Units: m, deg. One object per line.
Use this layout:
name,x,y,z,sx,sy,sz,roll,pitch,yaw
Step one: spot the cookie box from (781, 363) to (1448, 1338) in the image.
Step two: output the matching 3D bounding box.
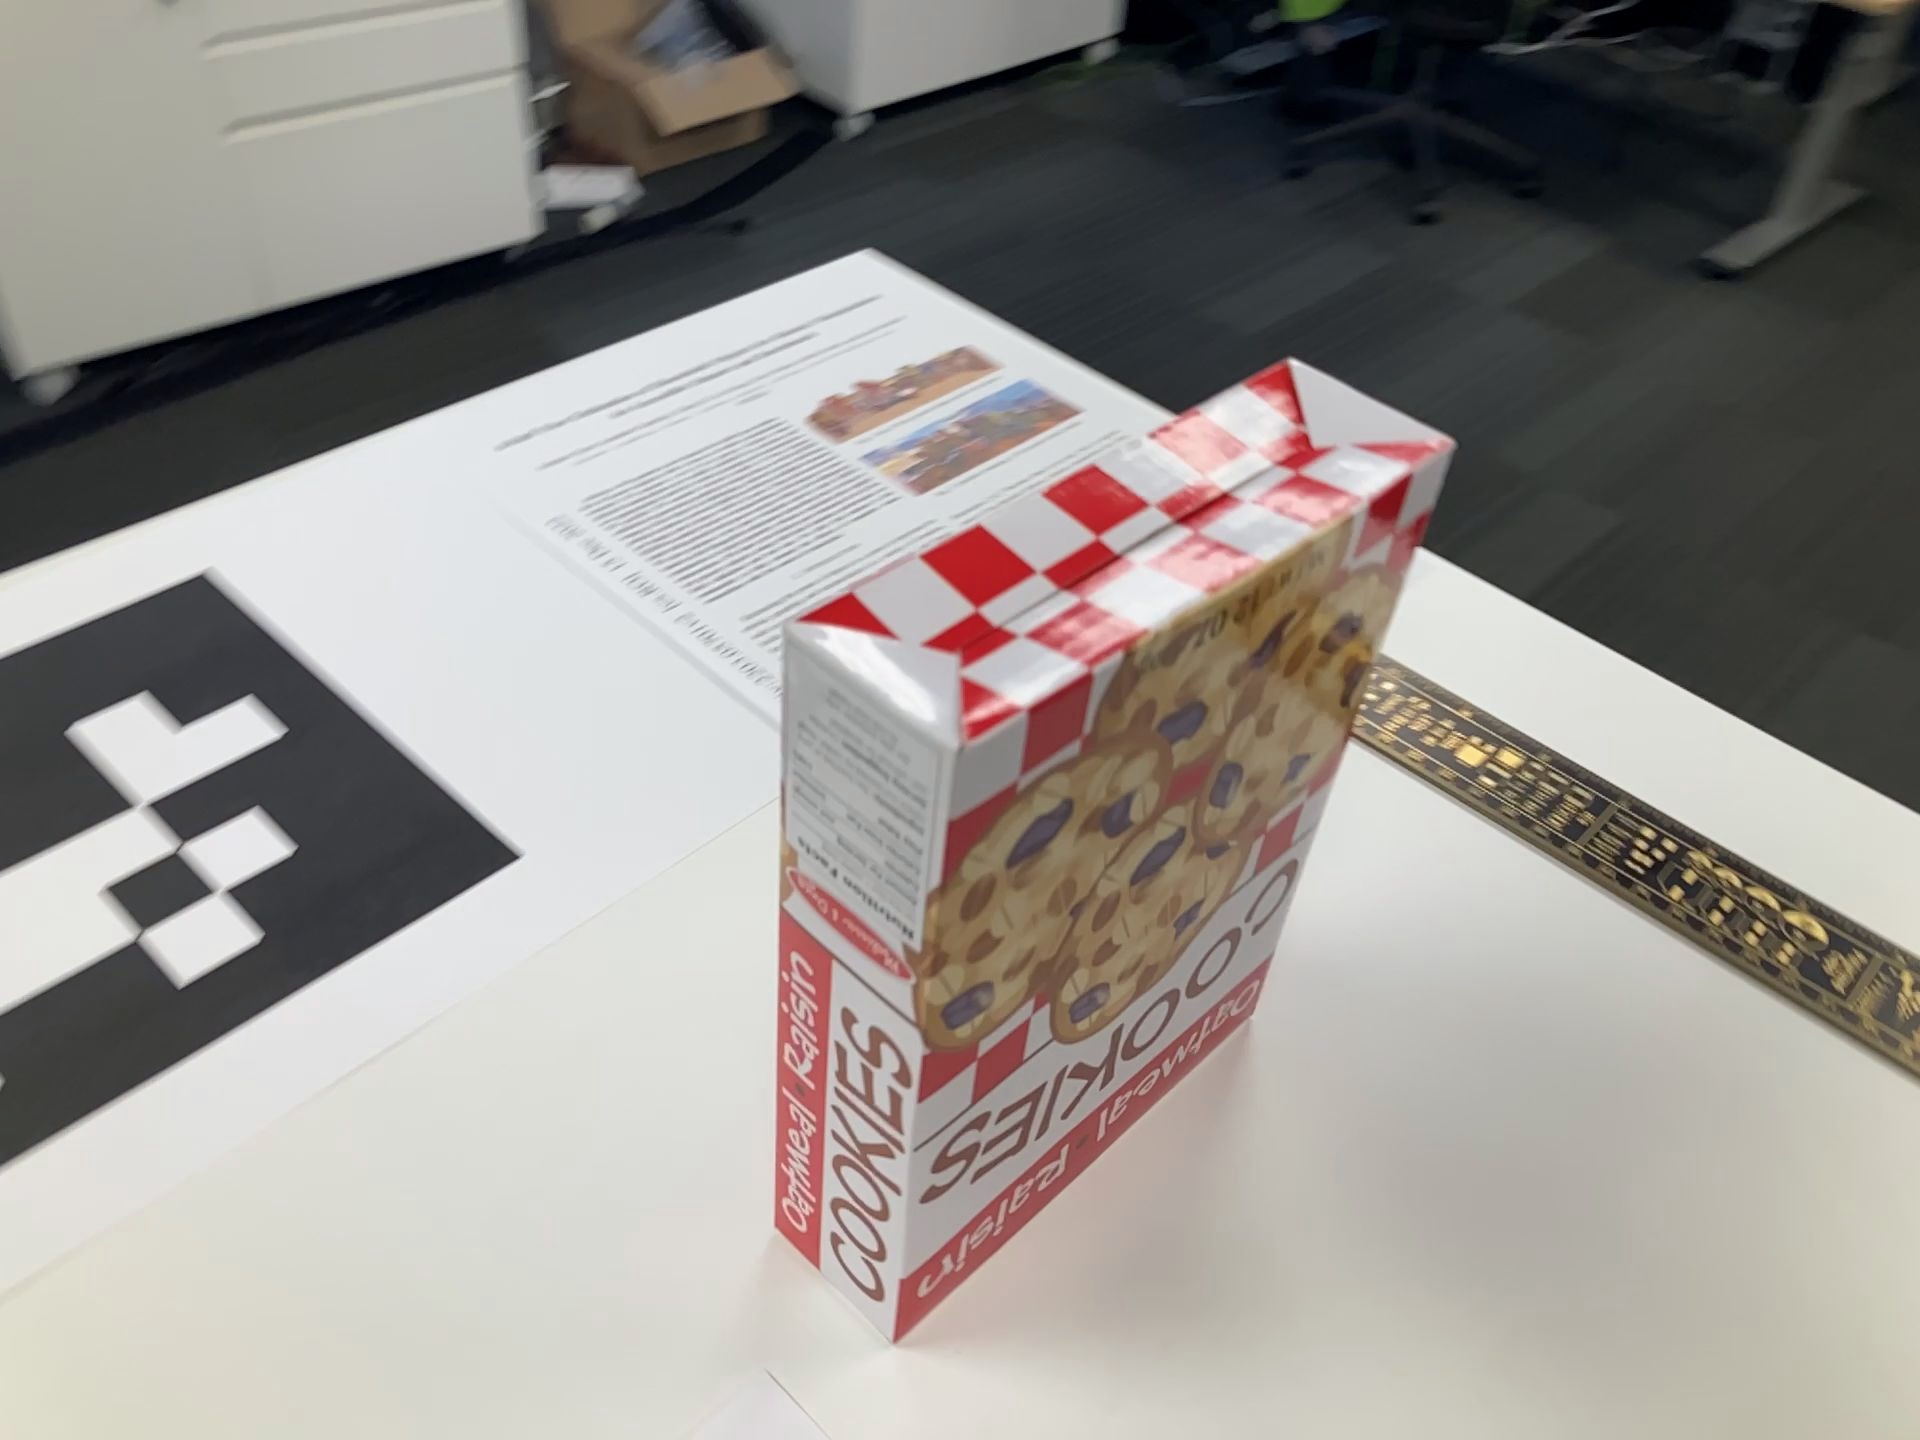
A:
cookie box,0.023,0.030,0.308,0.123,0.167,0.040,-32,55,-34
